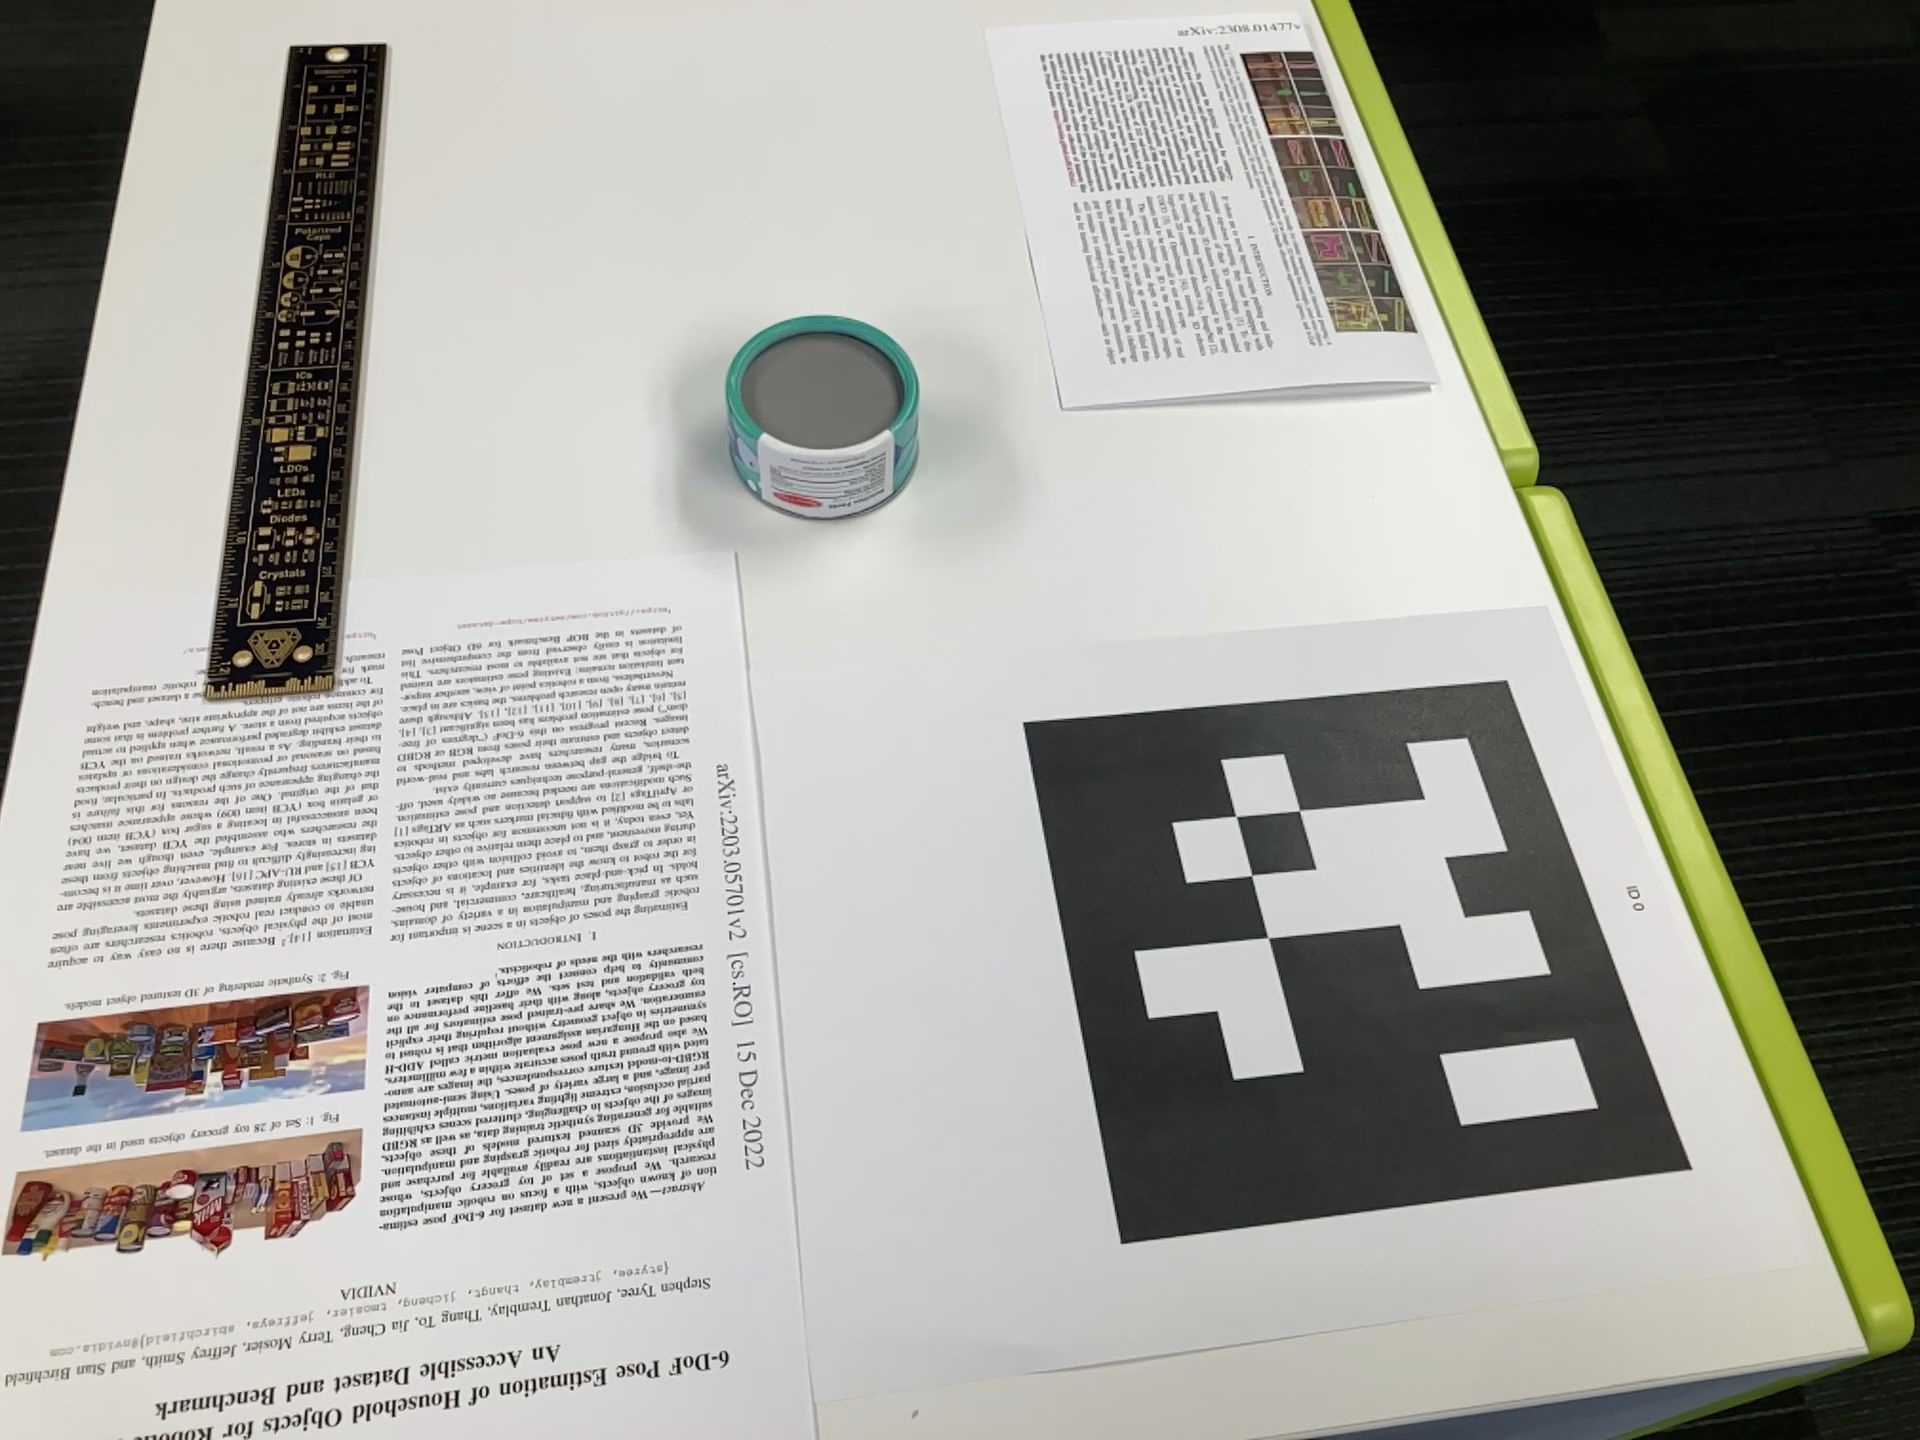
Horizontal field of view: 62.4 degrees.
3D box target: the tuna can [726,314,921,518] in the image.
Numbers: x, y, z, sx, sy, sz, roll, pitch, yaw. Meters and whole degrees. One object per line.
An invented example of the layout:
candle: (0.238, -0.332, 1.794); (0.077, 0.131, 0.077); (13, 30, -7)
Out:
tuna can: (-0.047, -0.107, 0.545); (0.071, 0.033, 0.071); (3, 57, -4)
